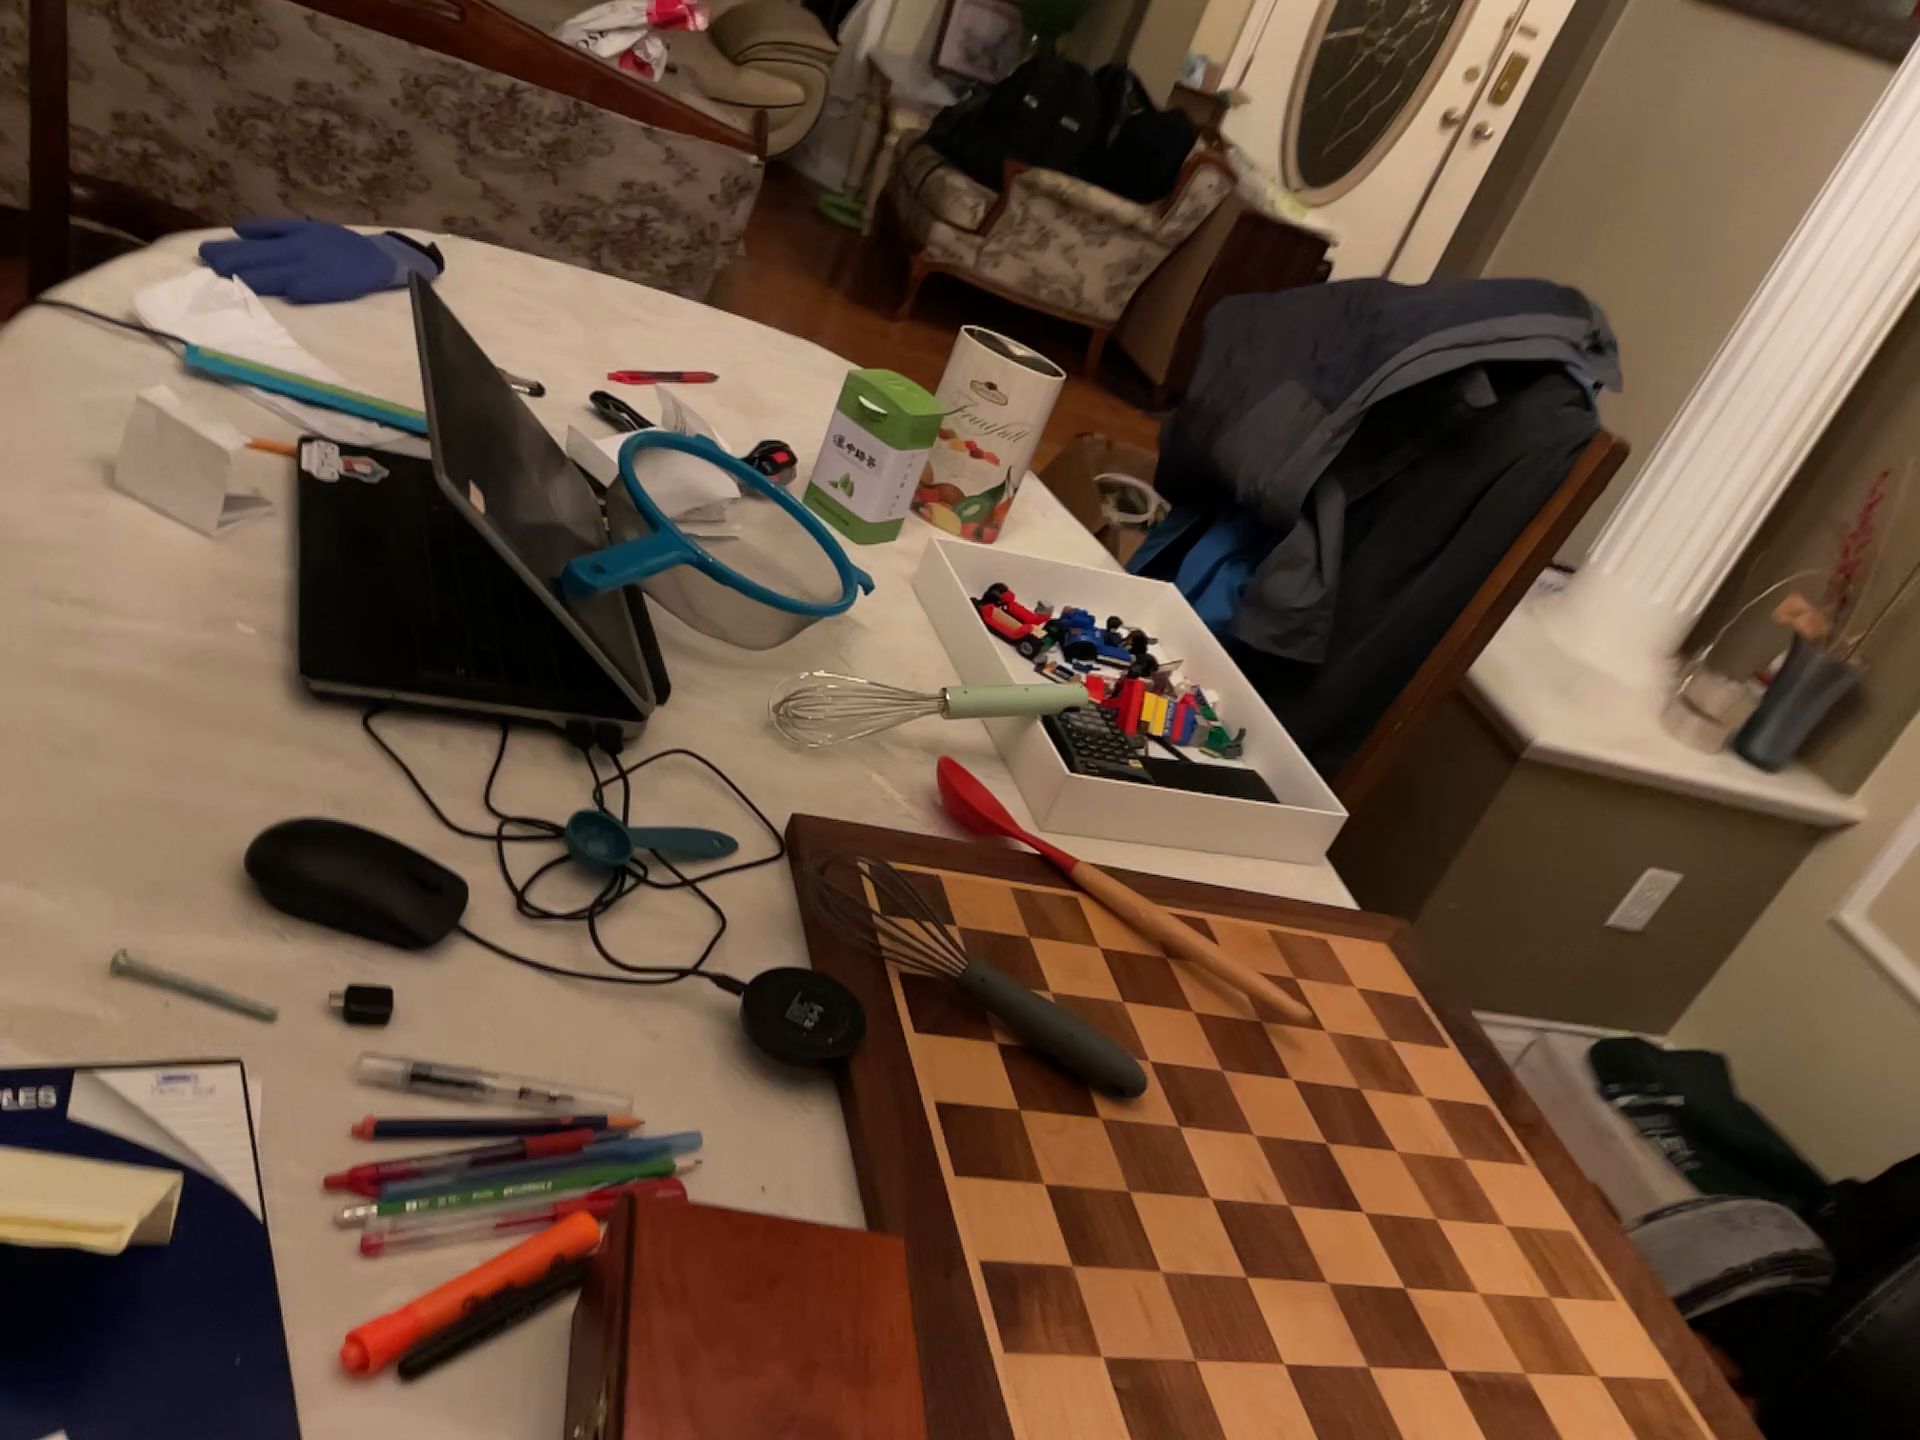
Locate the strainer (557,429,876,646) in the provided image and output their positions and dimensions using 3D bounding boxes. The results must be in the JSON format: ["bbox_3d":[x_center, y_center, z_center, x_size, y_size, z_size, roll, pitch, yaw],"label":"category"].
[{"bbox_3d":[-0.209,-0.105,1.163,0.211,0.095,0.340,41,24,4],"label":"strainer"}]

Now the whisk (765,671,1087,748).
[{"bbox_3d":[-0.021,-0.012,1.166,0.246,0.058,0.059,-3,66,-18],"label":"whisk"}]

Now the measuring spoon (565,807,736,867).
[{"bbox_3d":[-0.187,0.076,0.963,0.128,0.021,0.042,8,37,-51],"label":"measuring spoon"}]

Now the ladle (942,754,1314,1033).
[{"bbox_3d":[0.103,0.115,1.070,0.316,0.031,0.069,34,7,27],"label":"ladle"}]

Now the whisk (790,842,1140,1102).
[{"bbox_3d":[0.002,0.149,0.922,0.239,0.055,0.055,34,43,10],"label":"whisk"}]
